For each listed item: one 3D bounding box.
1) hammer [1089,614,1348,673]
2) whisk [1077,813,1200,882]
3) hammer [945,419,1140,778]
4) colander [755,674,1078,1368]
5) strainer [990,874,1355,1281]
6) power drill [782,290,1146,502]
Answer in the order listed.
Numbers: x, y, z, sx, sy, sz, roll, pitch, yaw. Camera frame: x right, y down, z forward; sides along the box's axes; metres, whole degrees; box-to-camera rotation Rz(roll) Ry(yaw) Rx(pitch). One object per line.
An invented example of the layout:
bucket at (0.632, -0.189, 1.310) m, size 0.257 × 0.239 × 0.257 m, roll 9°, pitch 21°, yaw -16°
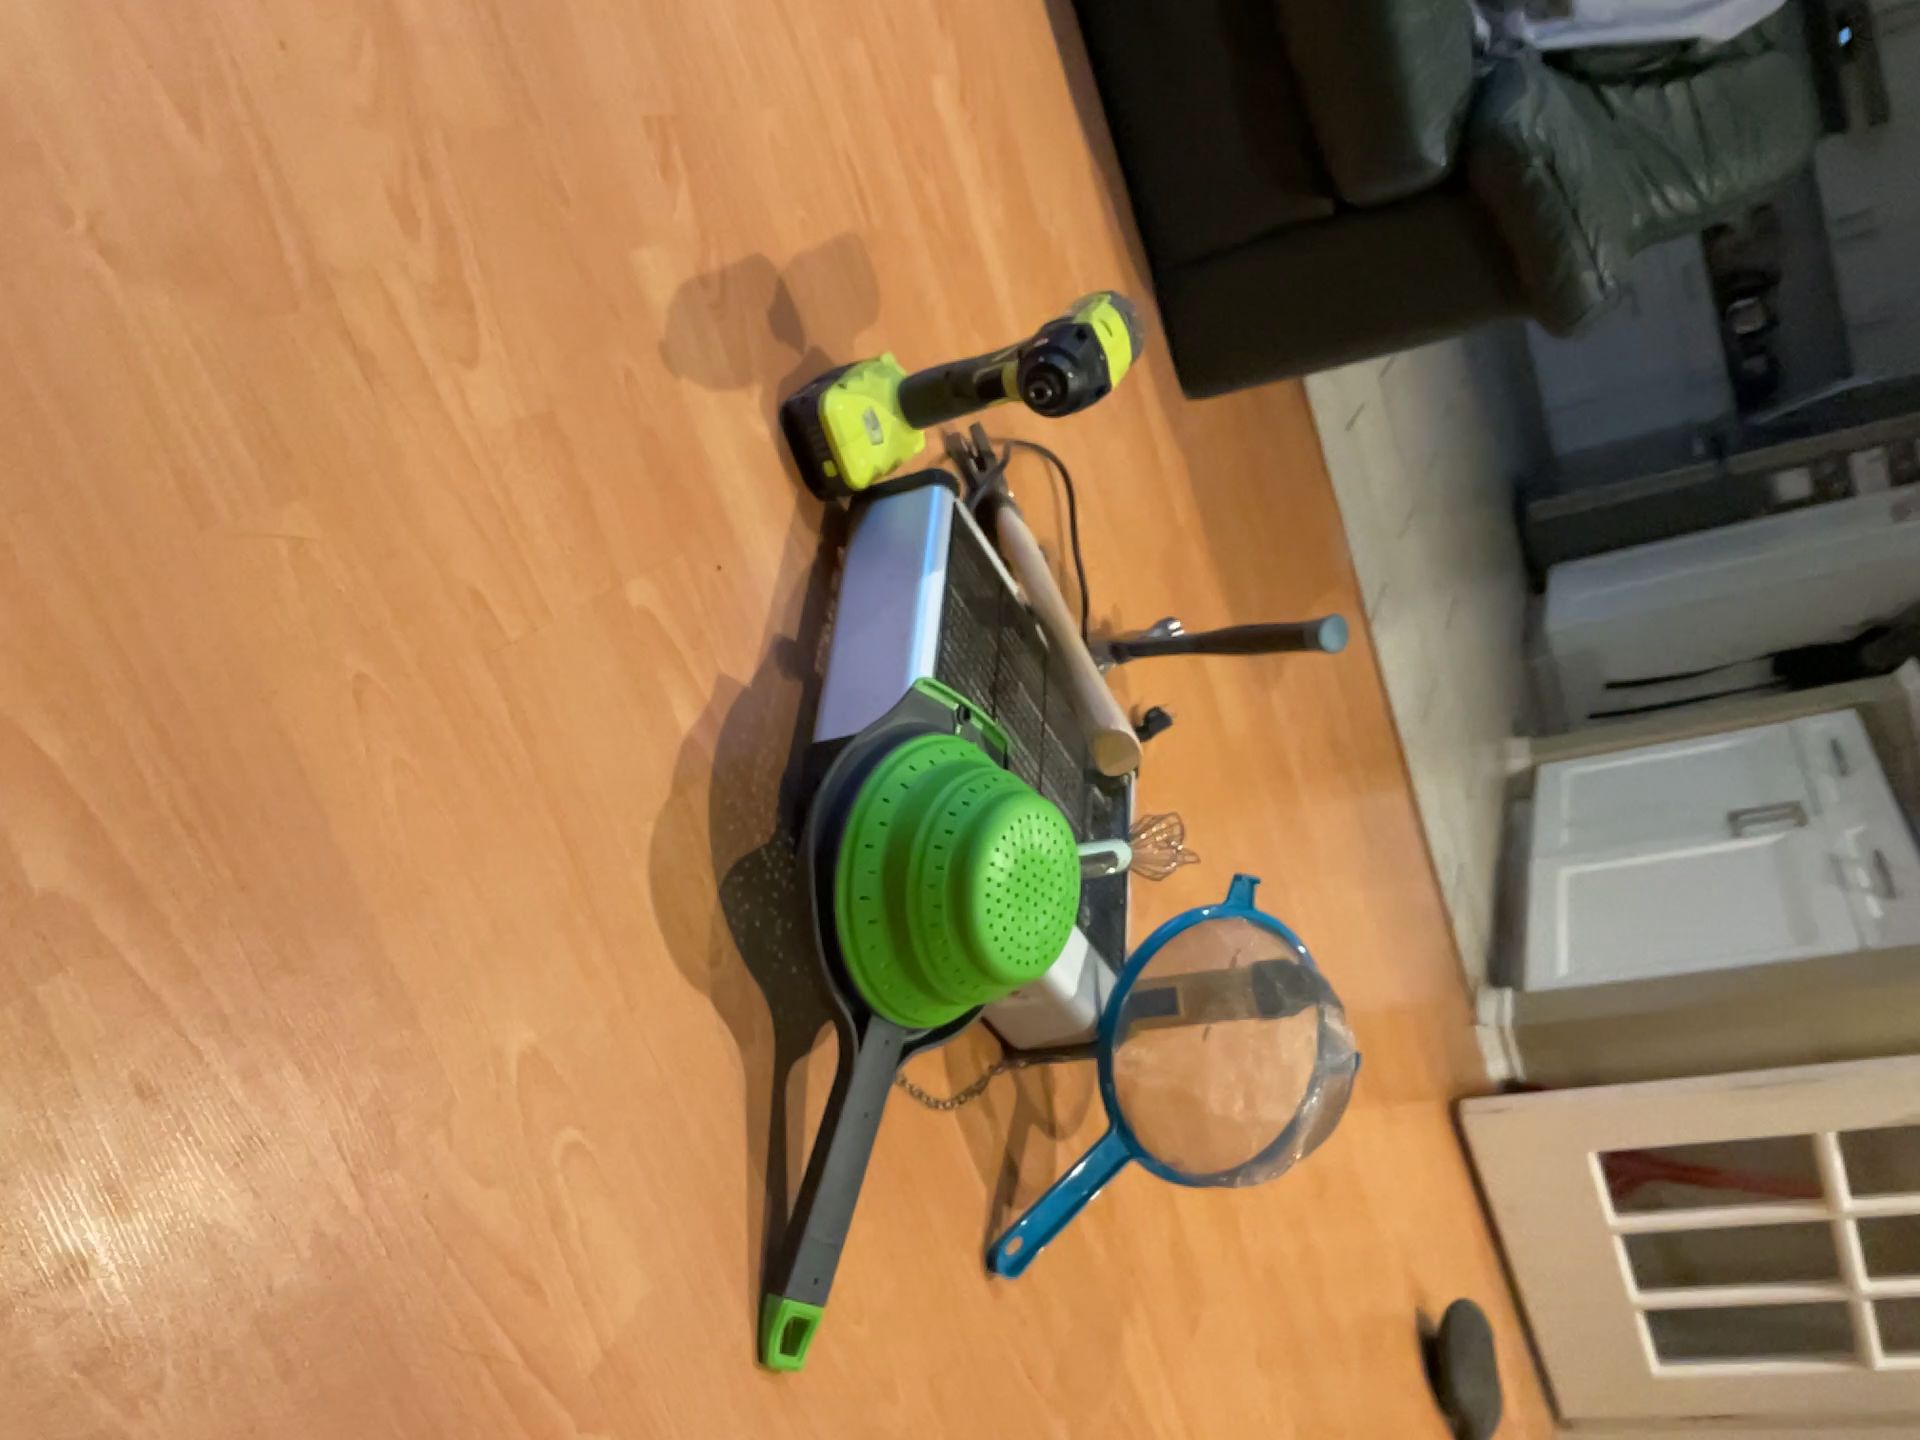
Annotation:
hammer at (0.227, -0.071, 1.427) m, size 0.128 × 0.331 × 0.033 m, roll -20°, pitch 99°, yaw -25°
whisk at (0.122, 0.102, 1.212) m, size 0.246 × 0.059 × 0.057 m, roll 1°, pitch 108°, yaw -62°
hammer at (0.060, -0.090, 1.189) m, size 0.411 × 0.038 × 0.146 m, roll -108°, pitch 172°, yaw -58°
colander at (-0.019, 0.169, 0.910) m, size 0.204 × 0.094 × 0.397 m, roll 37°, pitch 63°, yaw -46°
strainer at (0.164, 0.282, 1.143) m, size 0.340 × 0.095 × 0.211 m, roll -39°, pitch 108°, yaw -23°
power drill at (0.002, -0.221, 1.084) m, size 0.080 × 0.223 × 0.171 m, roll 69°, pitch 27°, yaw -18°
